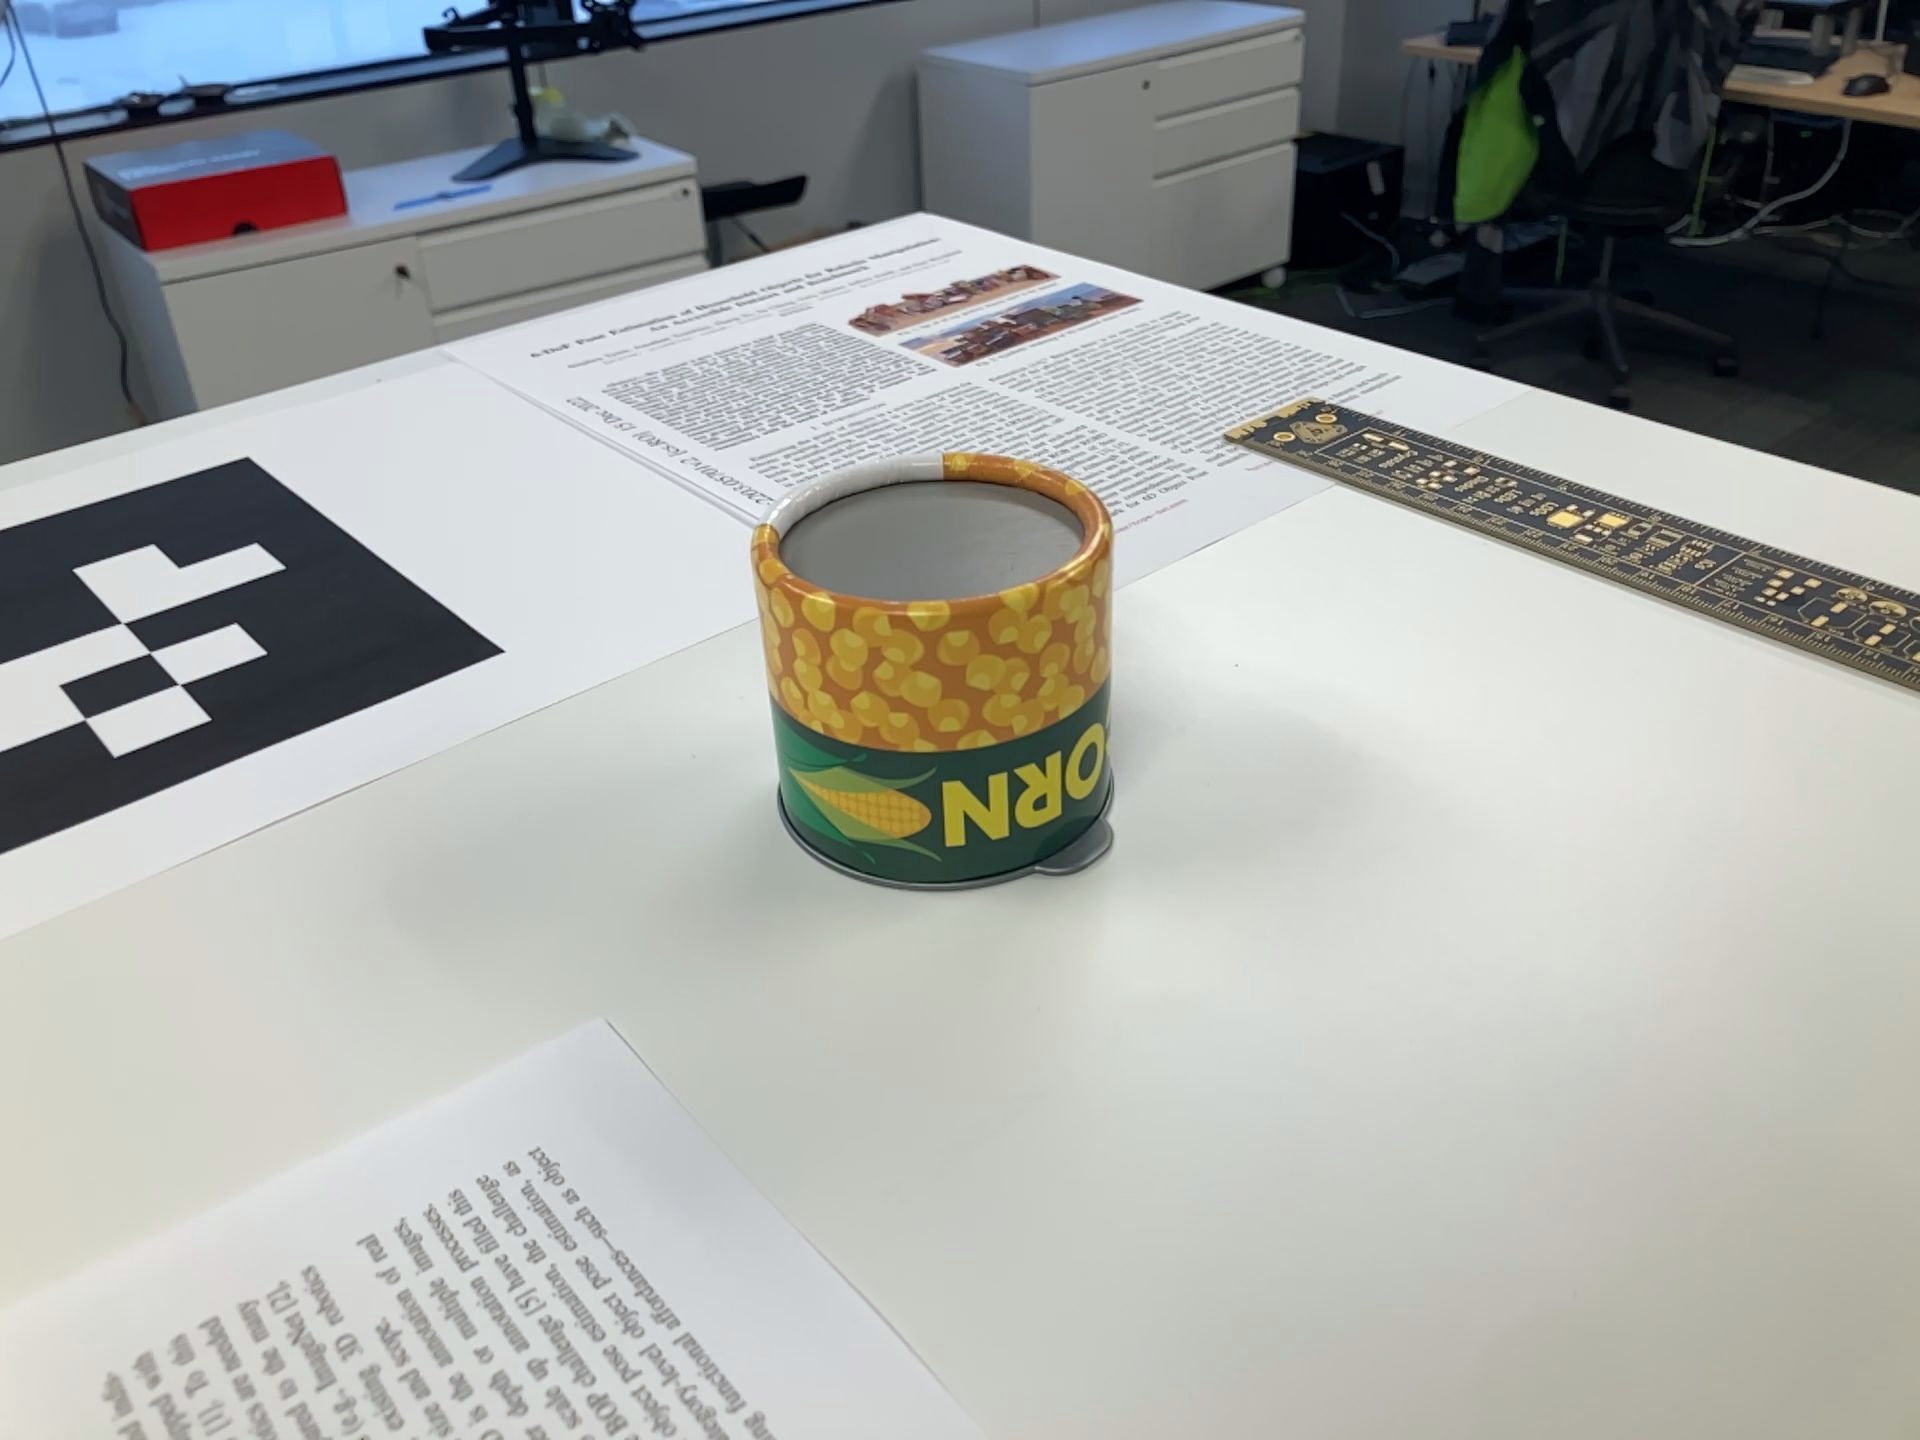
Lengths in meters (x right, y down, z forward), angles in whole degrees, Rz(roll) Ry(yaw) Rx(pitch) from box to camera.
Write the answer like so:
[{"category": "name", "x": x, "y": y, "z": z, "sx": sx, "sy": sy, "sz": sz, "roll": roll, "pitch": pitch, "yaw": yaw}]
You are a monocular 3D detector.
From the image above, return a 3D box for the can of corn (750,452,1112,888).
[{"category": "can of corn", "x": -0.003, "y": -0.011, "z": 0.298, "sx": 0.071, "sy": 0.058, "sz": 0.071, "roll": -2, "pitch": 32, "yaw": 1}]
